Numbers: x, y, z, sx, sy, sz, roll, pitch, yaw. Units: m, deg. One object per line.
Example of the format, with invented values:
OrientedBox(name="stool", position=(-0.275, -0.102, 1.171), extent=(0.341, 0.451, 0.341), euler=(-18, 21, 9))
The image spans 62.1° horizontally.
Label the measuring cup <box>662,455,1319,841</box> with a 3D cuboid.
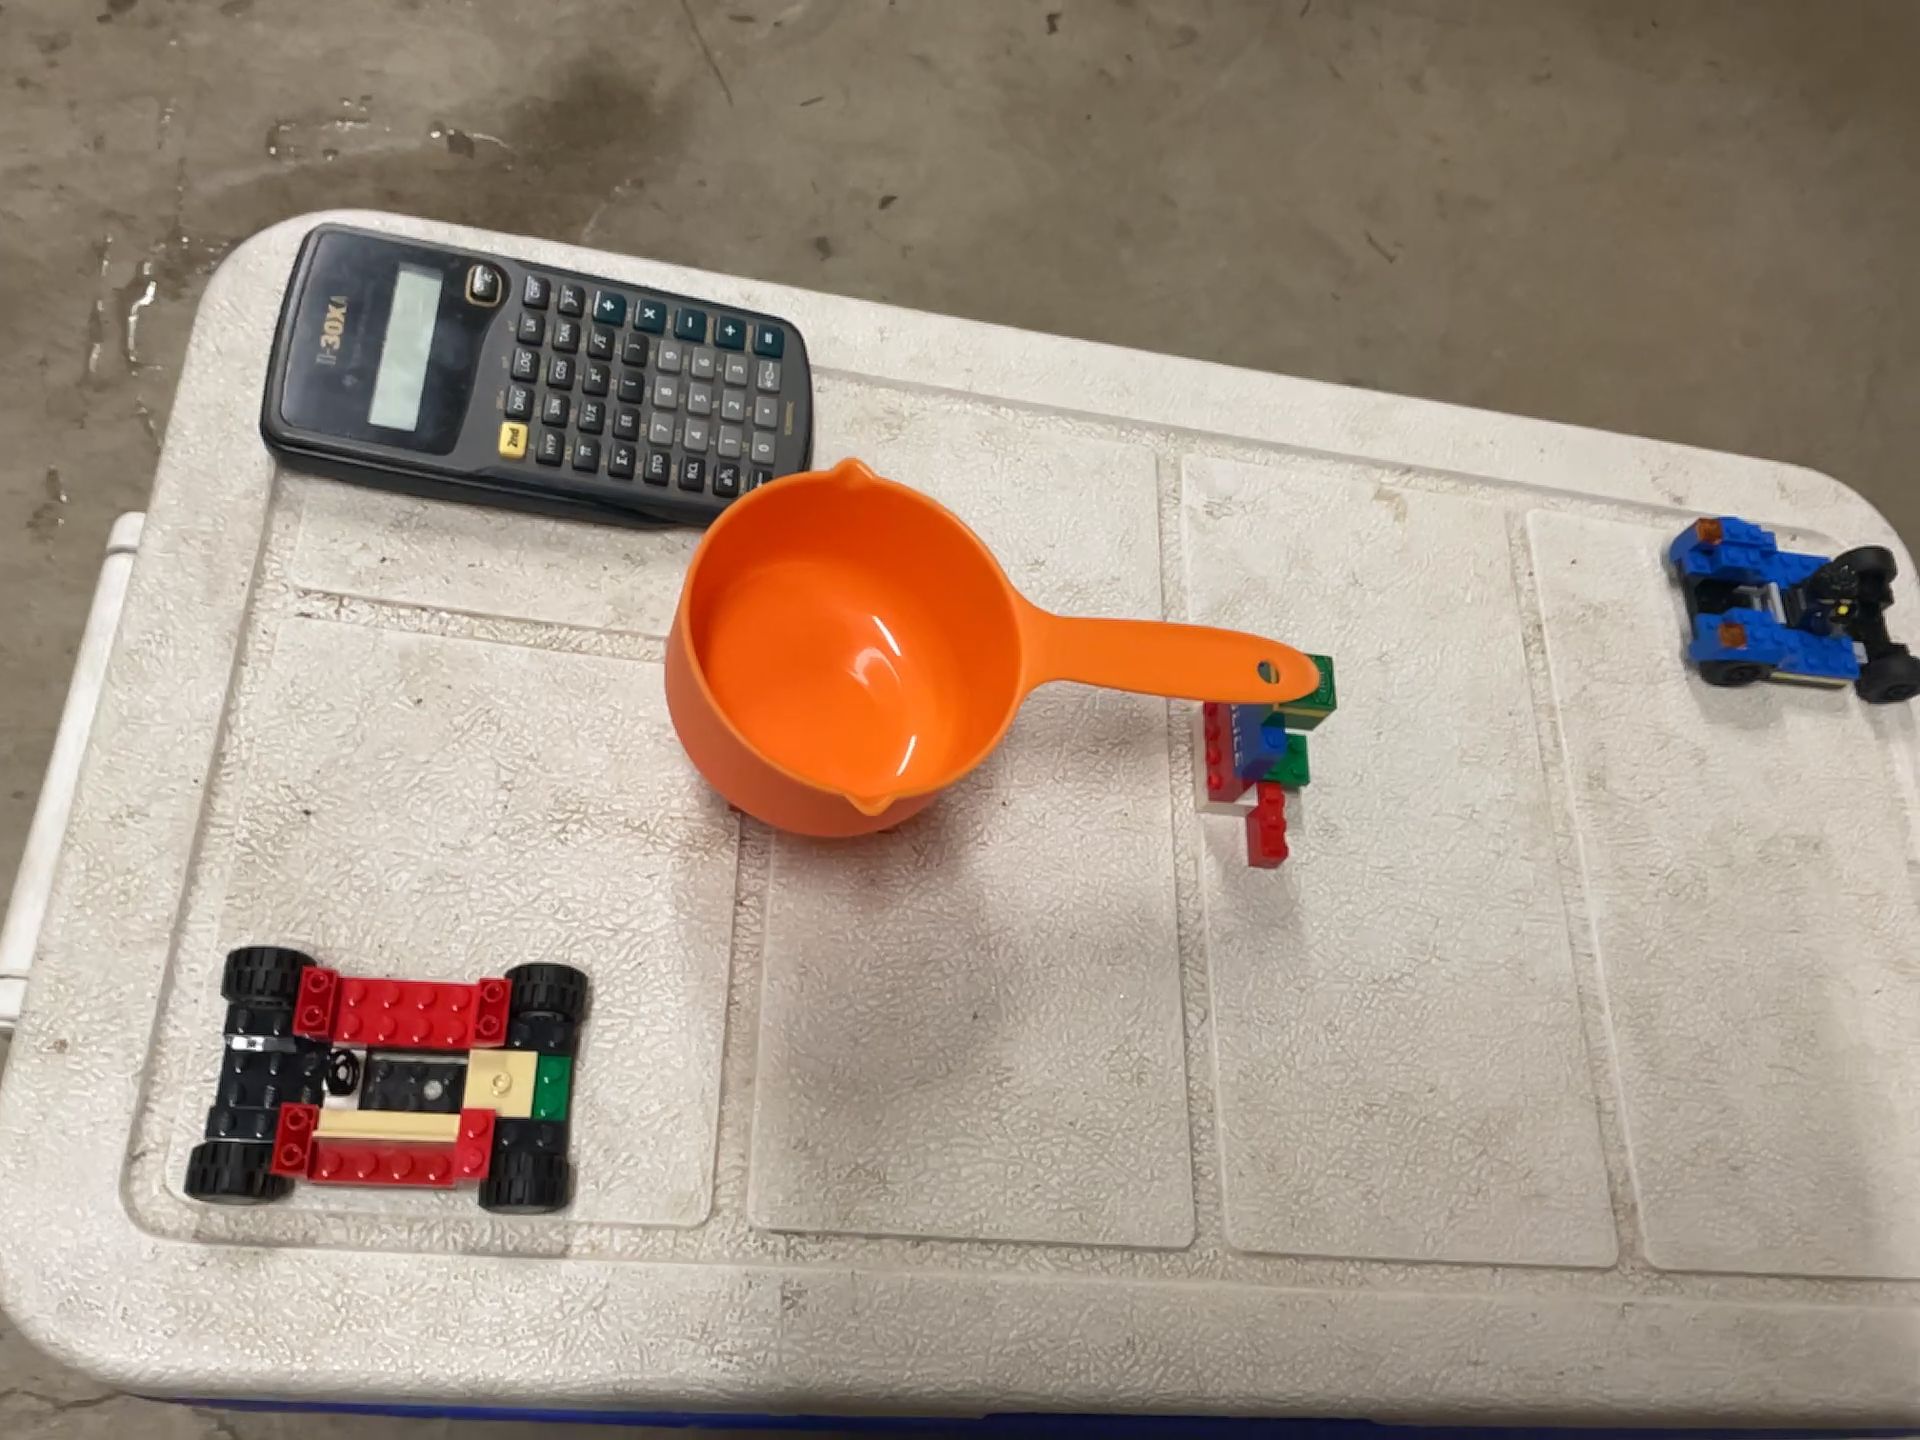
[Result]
OrientedBox(name="measuring cup", position=(0.008, -0.010, 0.419), extent=(0.173, 0.052, 0.095), euler=(5, 66, -20))
